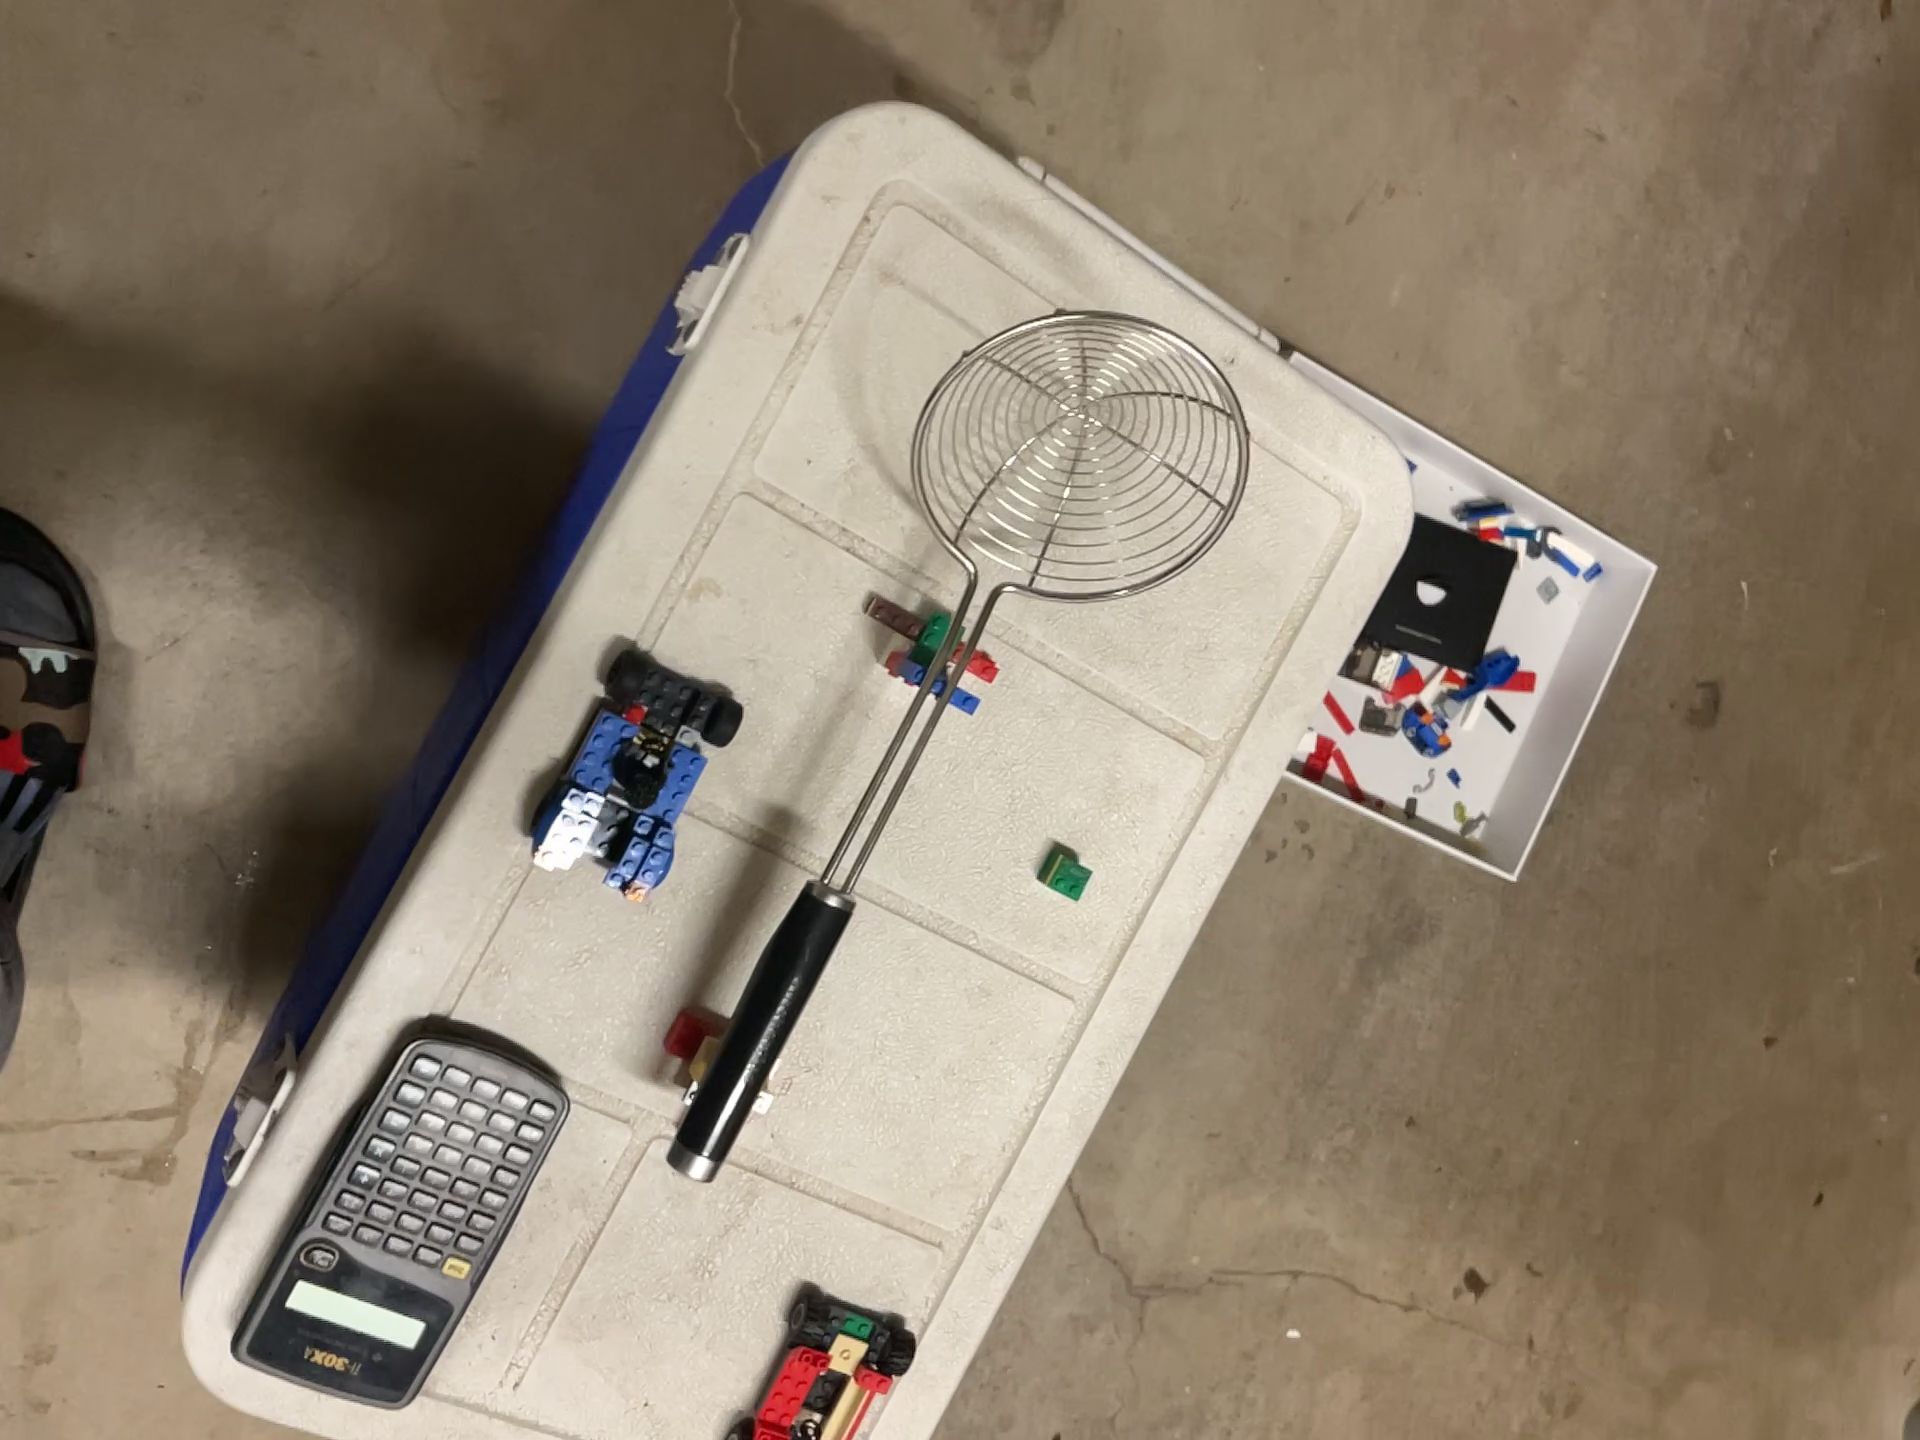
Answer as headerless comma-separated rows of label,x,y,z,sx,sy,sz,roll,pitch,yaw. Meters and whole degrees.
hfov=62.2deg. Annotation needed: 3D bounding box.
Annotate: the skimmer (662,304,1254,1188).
skimmer,-0.016,0.020,0.595,0.127,0.090,0.363,28,89,-19
